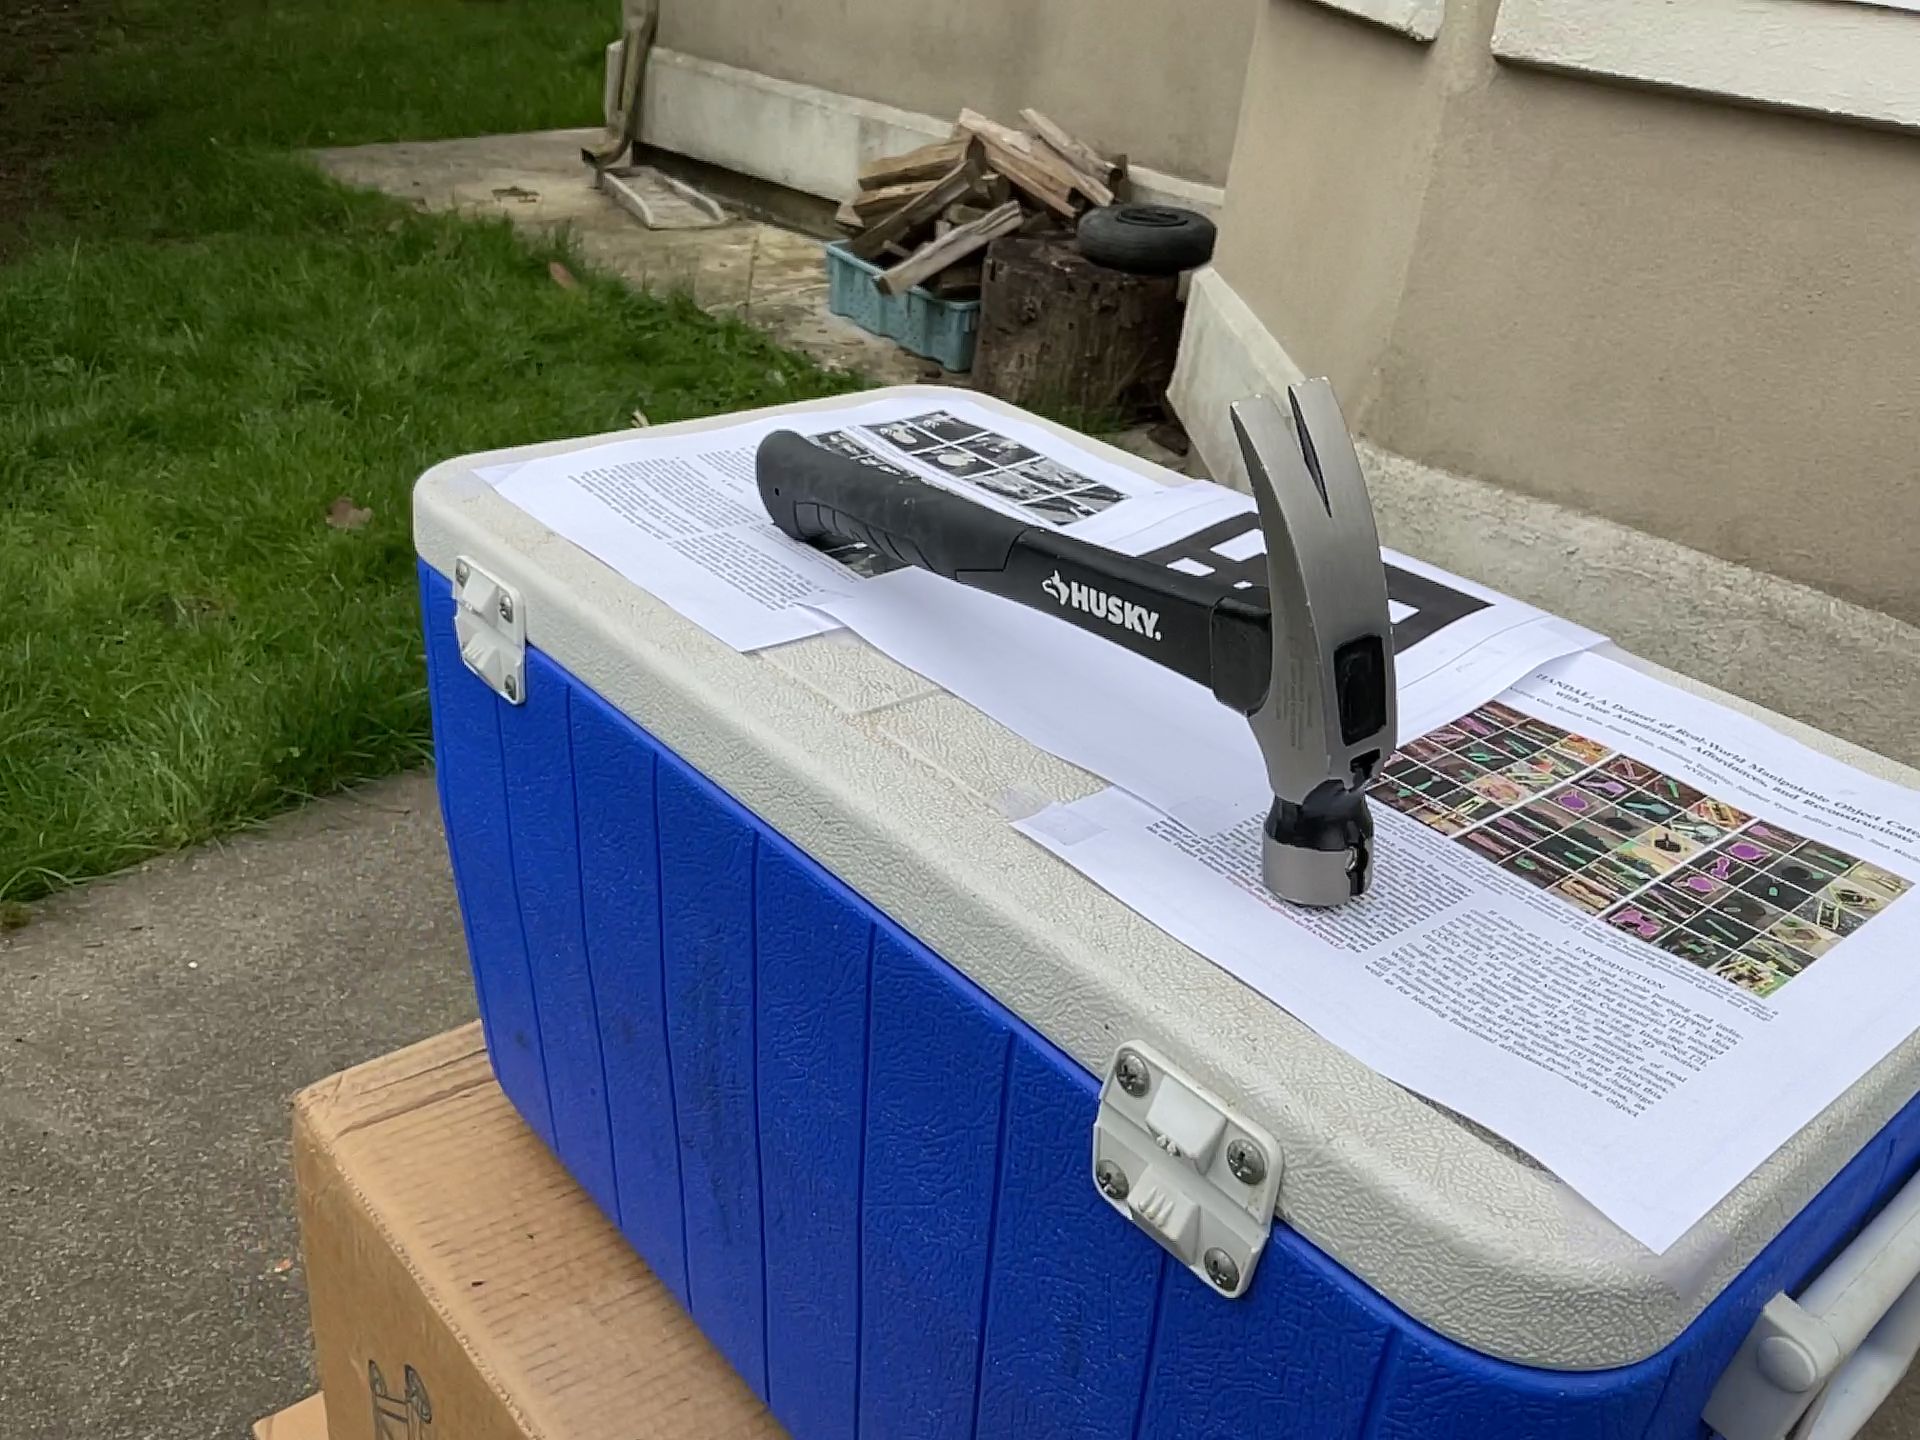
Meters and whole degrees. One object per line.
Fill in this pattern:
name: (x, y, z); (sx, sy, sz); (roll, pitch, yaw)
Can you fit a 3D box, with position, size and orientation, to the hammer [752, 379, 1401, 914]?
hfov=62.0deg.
hammer: (0.015, -0.061, 0.557); (0.035, 0.146, 0.335); (-19, 28, -29)
